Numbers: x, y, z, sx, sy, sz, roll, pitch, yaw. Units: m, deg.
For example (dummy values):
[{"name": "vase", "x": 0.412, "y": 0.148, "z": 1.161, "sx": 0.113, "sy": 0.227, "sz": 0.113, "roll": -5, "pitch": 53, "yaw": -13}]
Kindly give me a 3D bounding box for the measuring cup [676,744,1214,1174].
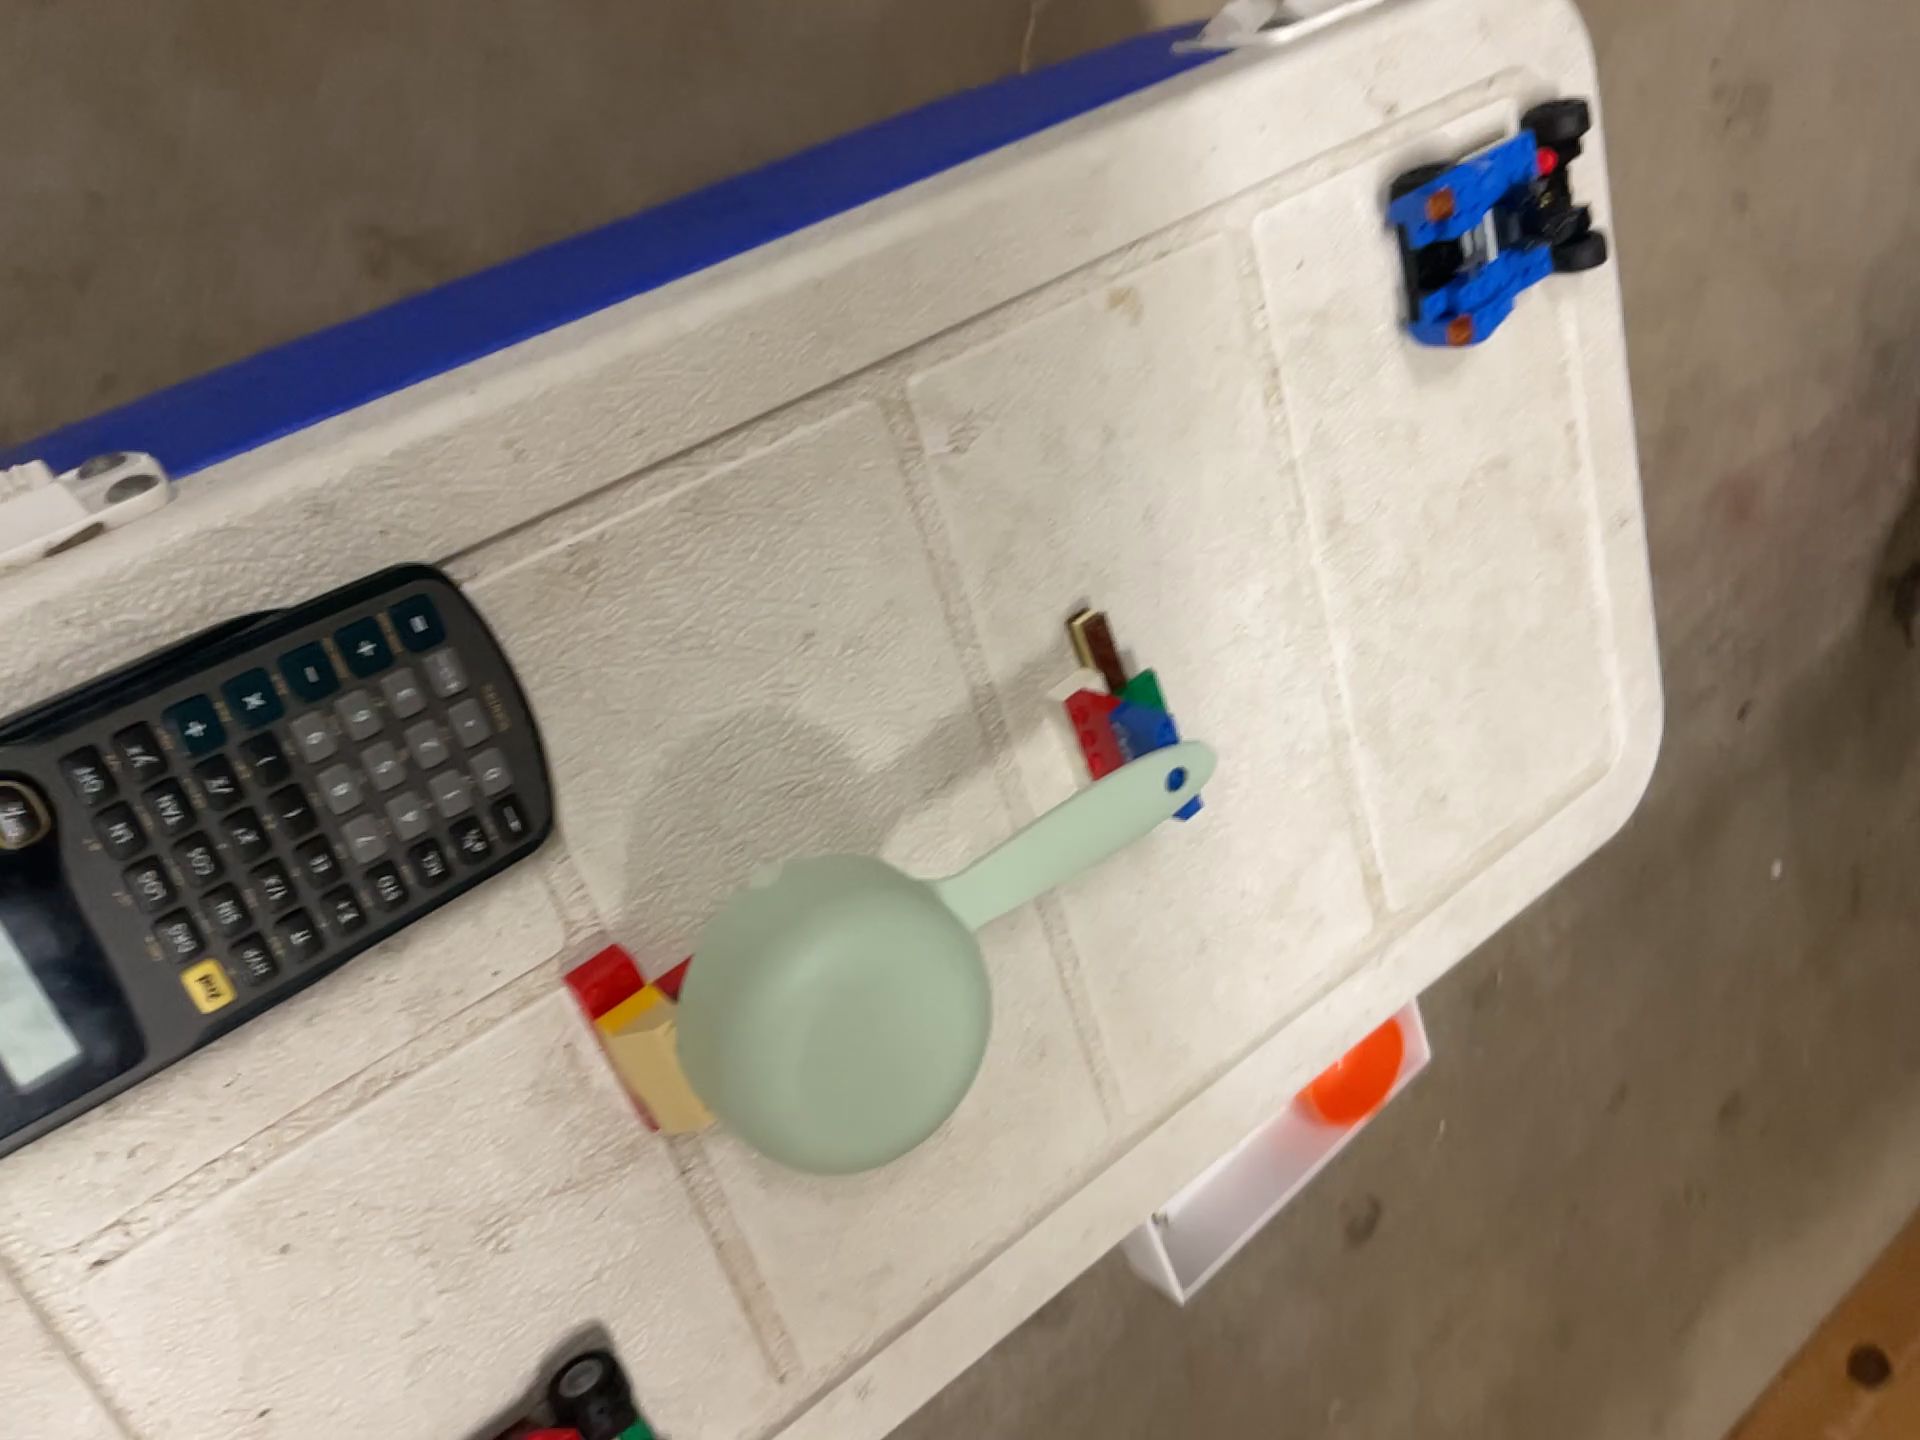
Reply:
[{"name": "measuring cup", "x": 0.009, "y": 0.053, "z": 0.410, "sx": 0.167, "sy": 0.038, "sz": 0.083, "roll": -30, "pitch": 118, "yaw": -20}]
